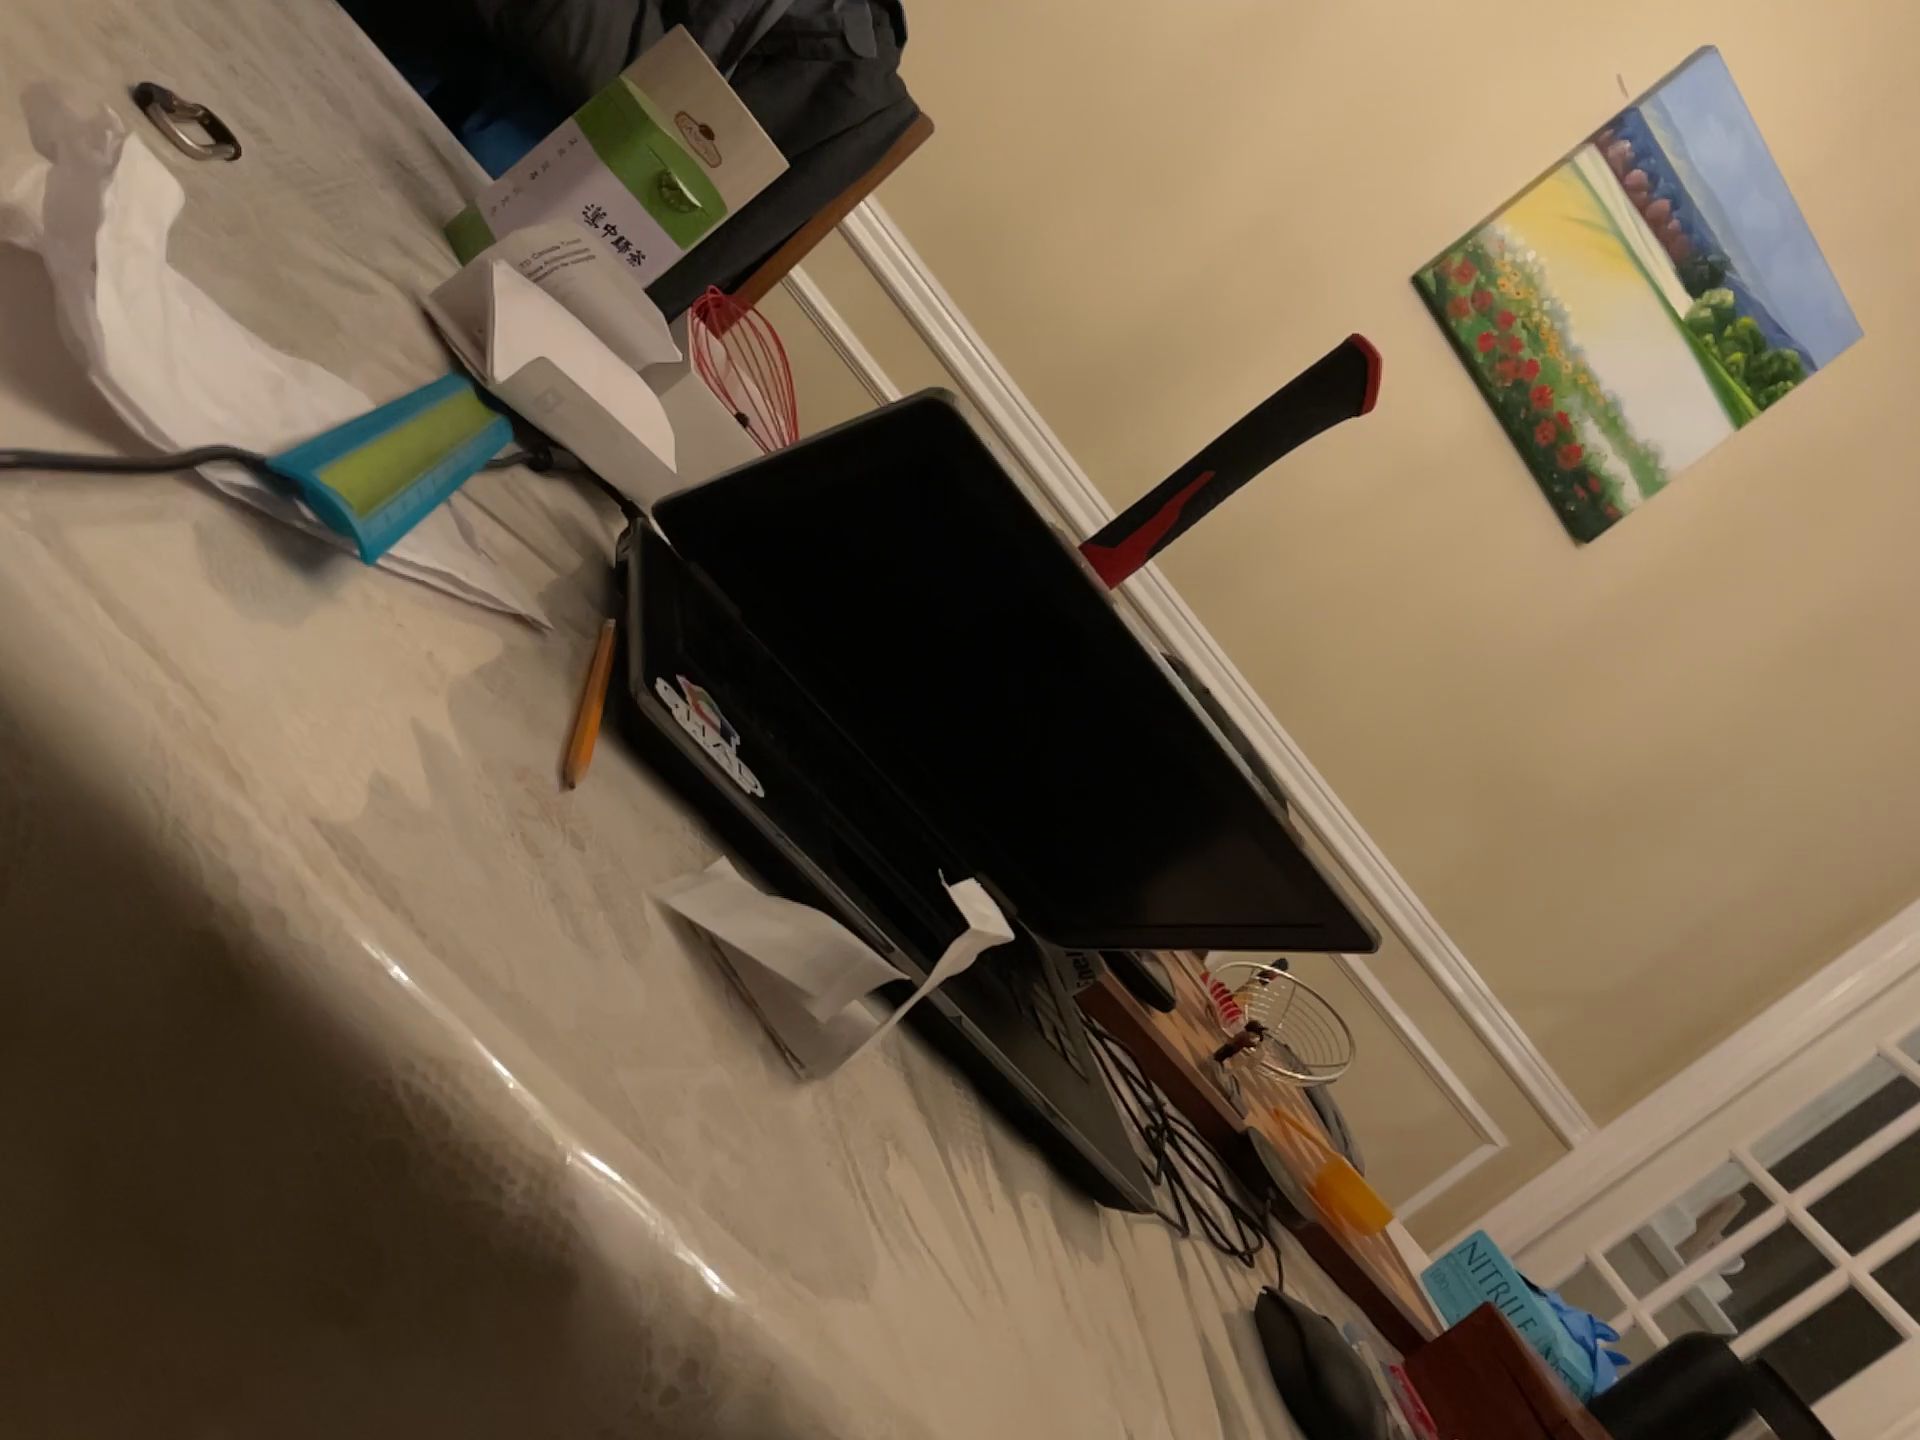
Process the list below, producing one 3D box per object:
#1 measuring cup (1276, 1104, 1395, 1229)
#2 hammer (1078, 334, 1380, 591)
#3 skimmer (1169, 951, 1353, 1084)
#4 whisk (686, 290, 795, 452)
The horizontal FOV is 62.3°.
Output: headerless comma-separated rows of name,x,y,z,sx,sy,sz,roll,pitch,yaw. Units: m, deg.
measuring cup,0.270,0.332,1.196,0.062,0.029,0.157,46,-4,-20
hammer,0.087,-0.115,0.980,0.143,0.386,0.038,49,7,-17
skimmer,0.195,0.170,1.193,0.362,0.090,0.127,51,7,-43
whisk,-0.135,-0.201,1.229,0.073,0.073,0.296,-16,81,-63
